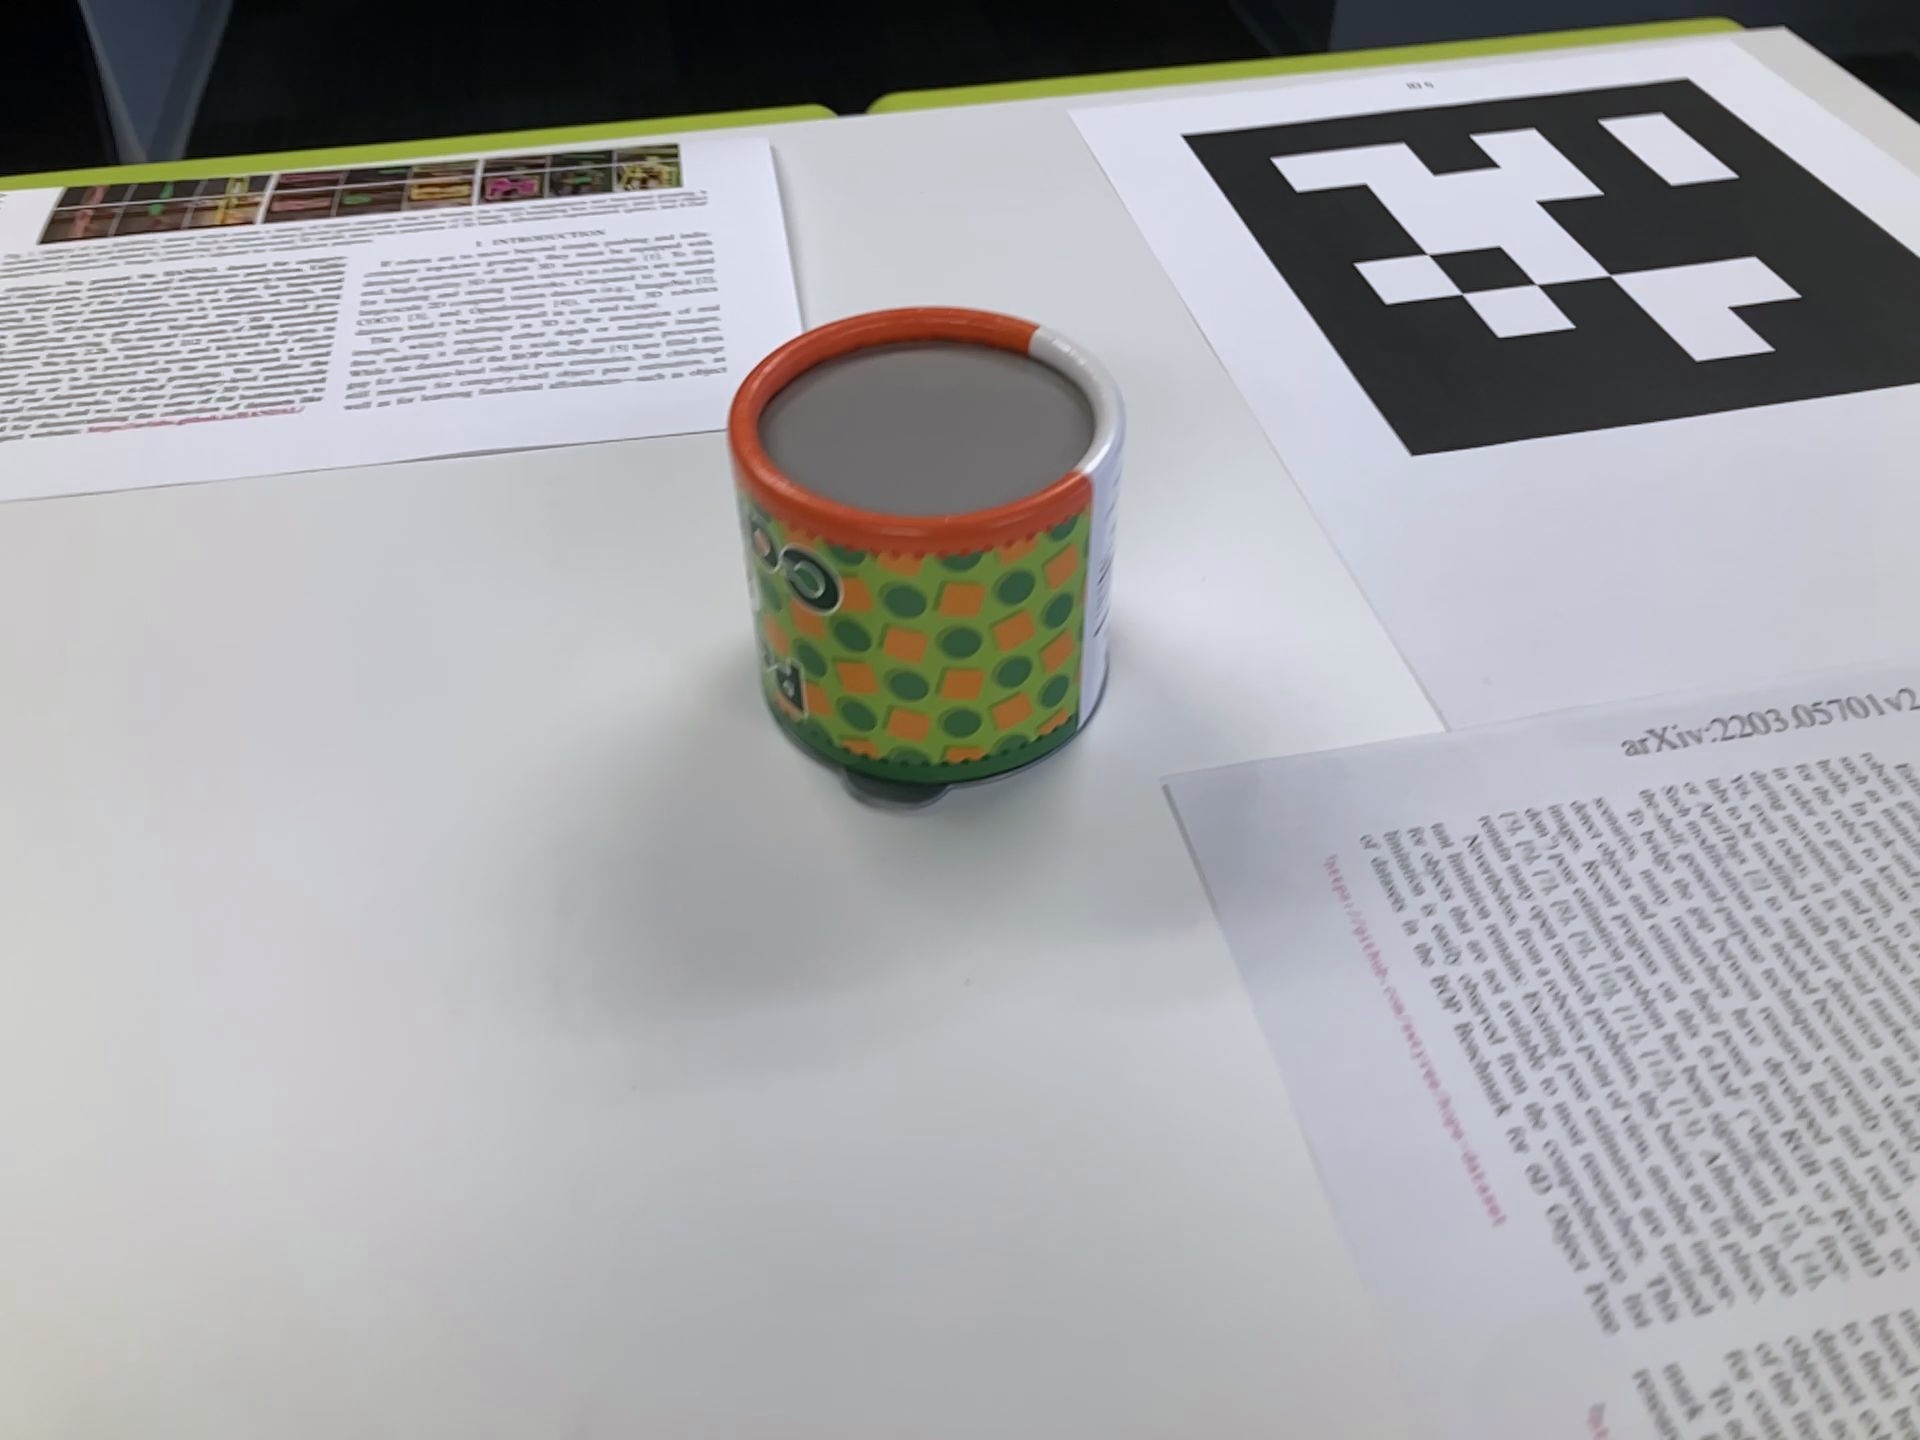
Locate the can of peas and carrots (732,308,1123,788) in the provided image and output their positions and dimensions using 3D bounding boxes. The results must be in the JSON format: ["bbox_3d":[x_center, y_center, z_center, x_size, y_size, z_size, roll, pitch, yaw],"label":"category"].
[{"bbox_3d":[-0.007,-0.031,0.283,0.071,0.059,0.071,-1,44,1],"label":"can of peas and carrots"}]
